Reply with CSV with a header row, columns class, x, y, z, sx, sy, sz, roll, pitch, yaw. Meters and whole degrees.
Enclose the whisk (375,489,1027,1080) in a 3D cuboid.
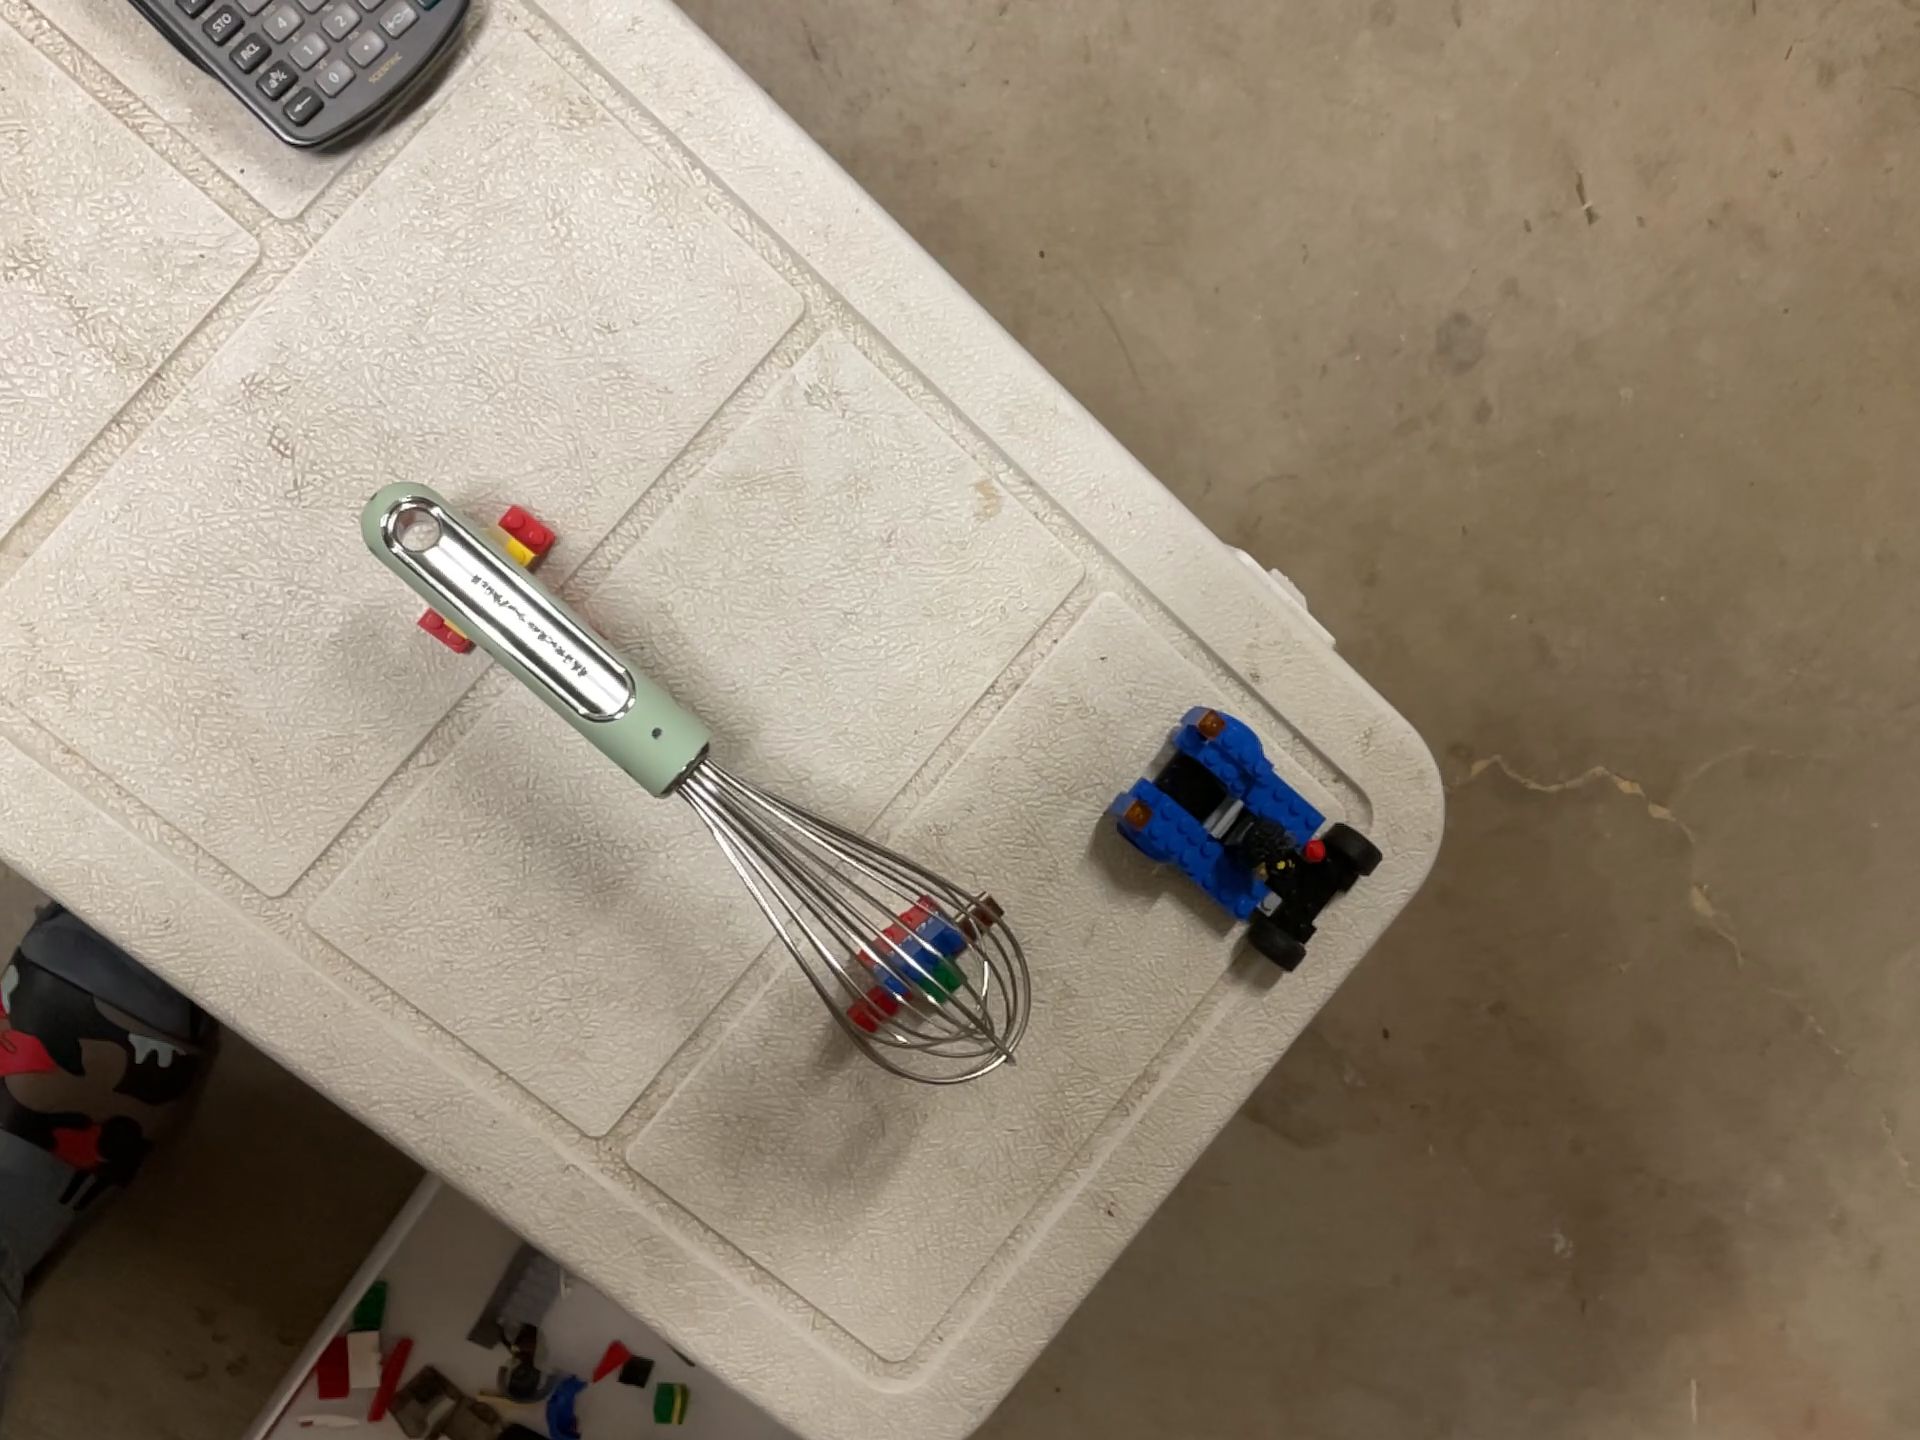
class,x,y,z,sx,sy,sz,roll,pitch,yaw
whisk,-0.075,0.020,0.474,0.246,0.059,0.058,42,78,-7
